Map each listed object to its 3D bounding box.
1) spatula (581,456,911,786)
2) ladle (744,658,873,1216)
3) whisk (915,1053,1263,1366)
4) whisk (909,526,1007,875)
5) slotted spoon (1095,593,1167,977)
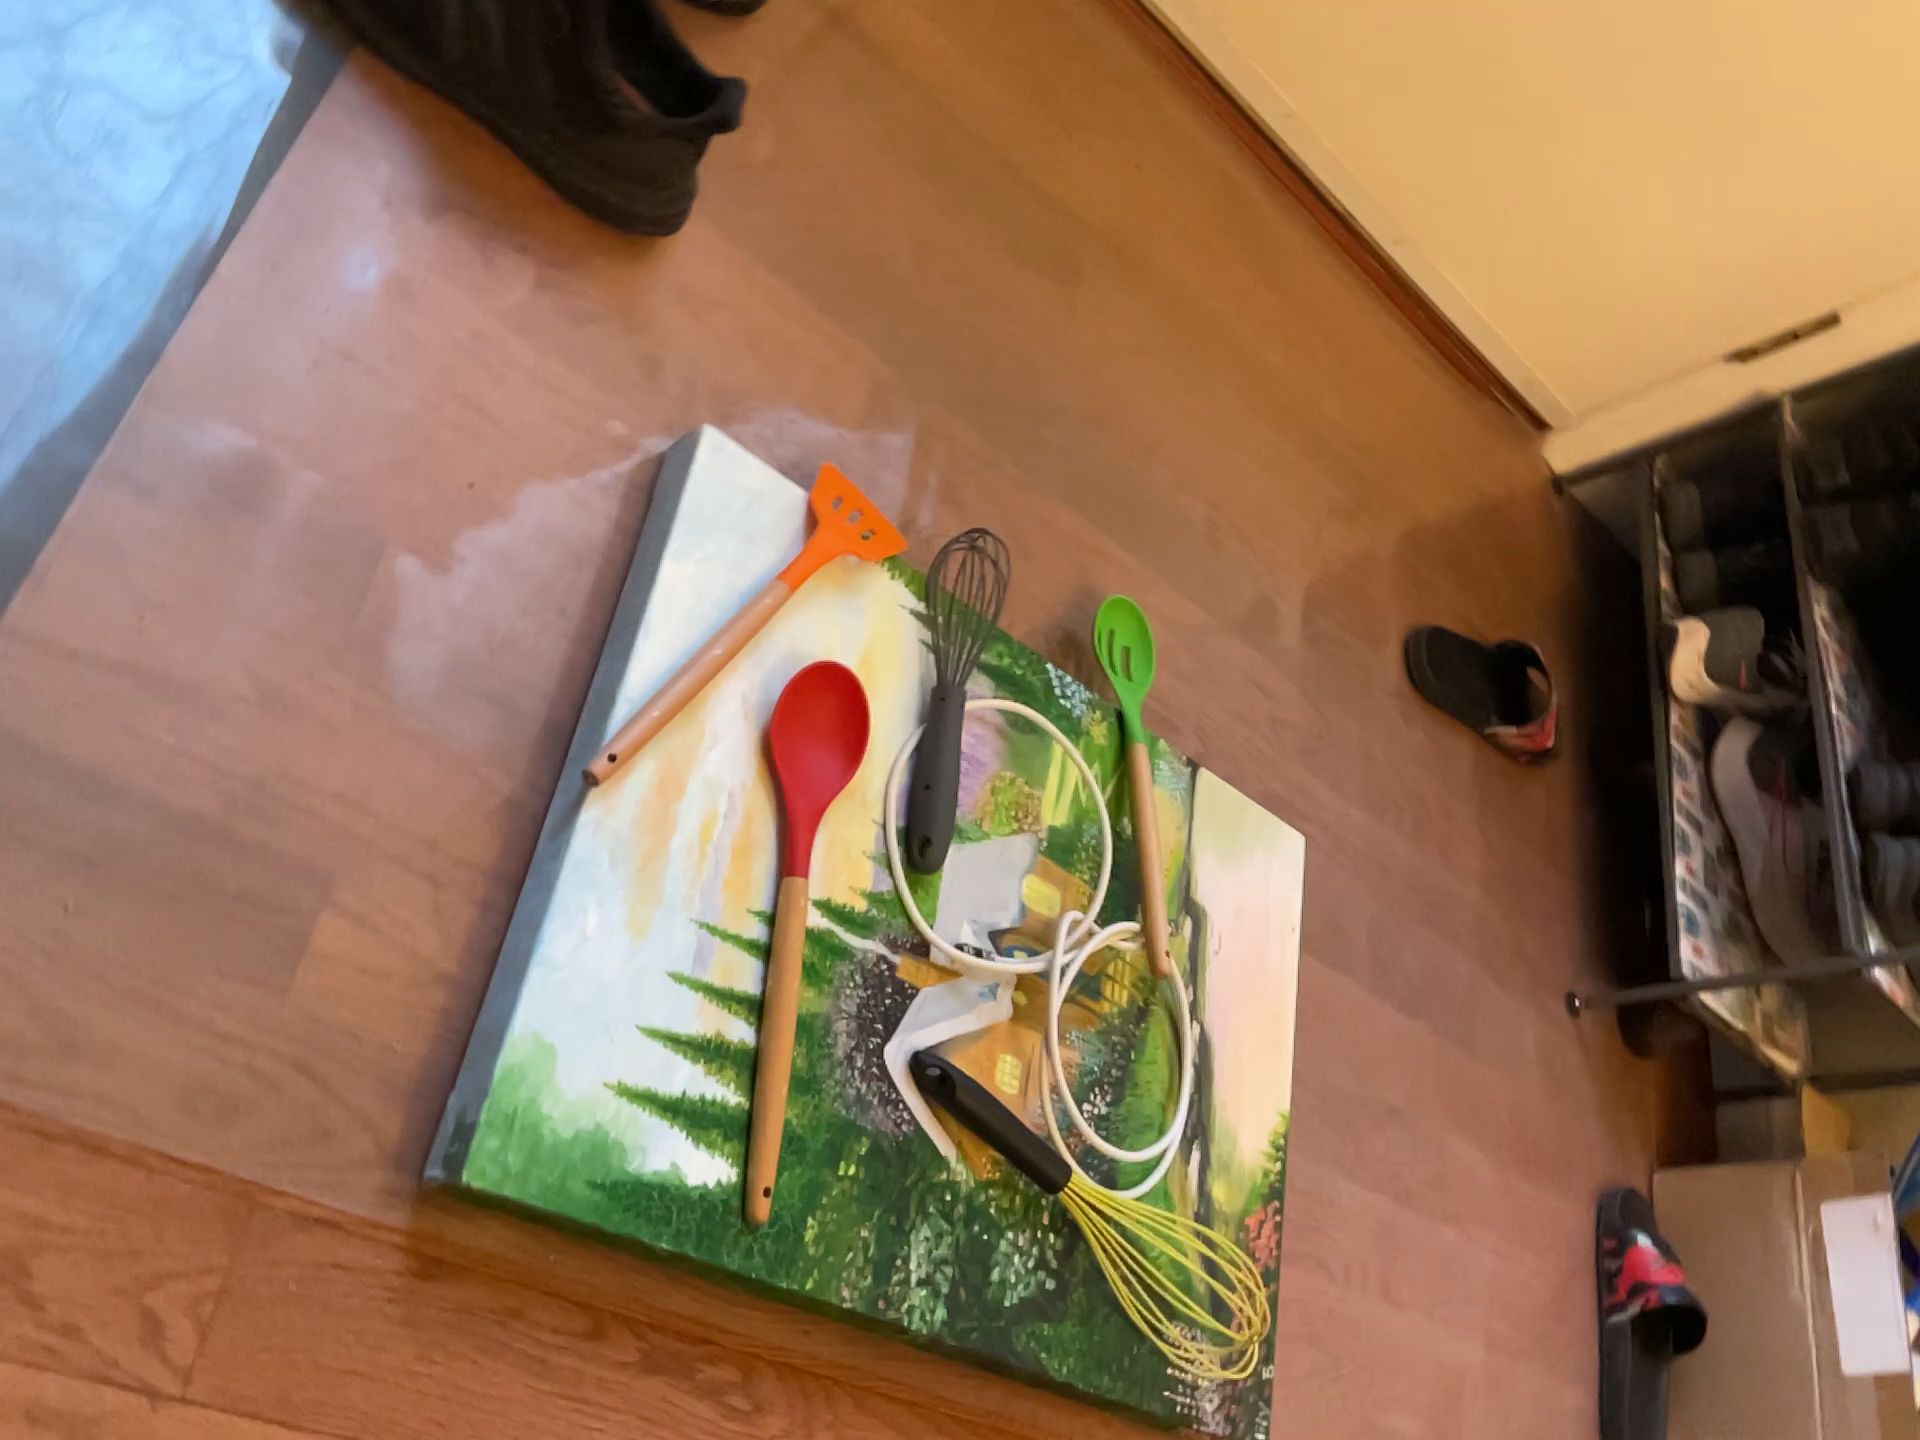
[{"bbox_3d":[-0.122,-0.062,0.940,0.081,0.041,0.323,46,48,-8],"label":"spatula"},{"bbox_3d":[-0.093,0.113,0.889,0.069,0.031,0.316,23,62,-37],"label":"ladle"},{"bbox_3d":[0.081,0.300,0.981,0.311,0.067,0.080,44,43,-18],"label":"whisk"},{"bbox_3d":[-0.005,-0.017,1.015,0.055,0.055,0.239,19,68,-28],"label":"whisk"},{"bbox_3d":[0.126,0.039,1.131,0.070,0.031,0.314,30,43,-35],"label":"slotted spoon"}]
